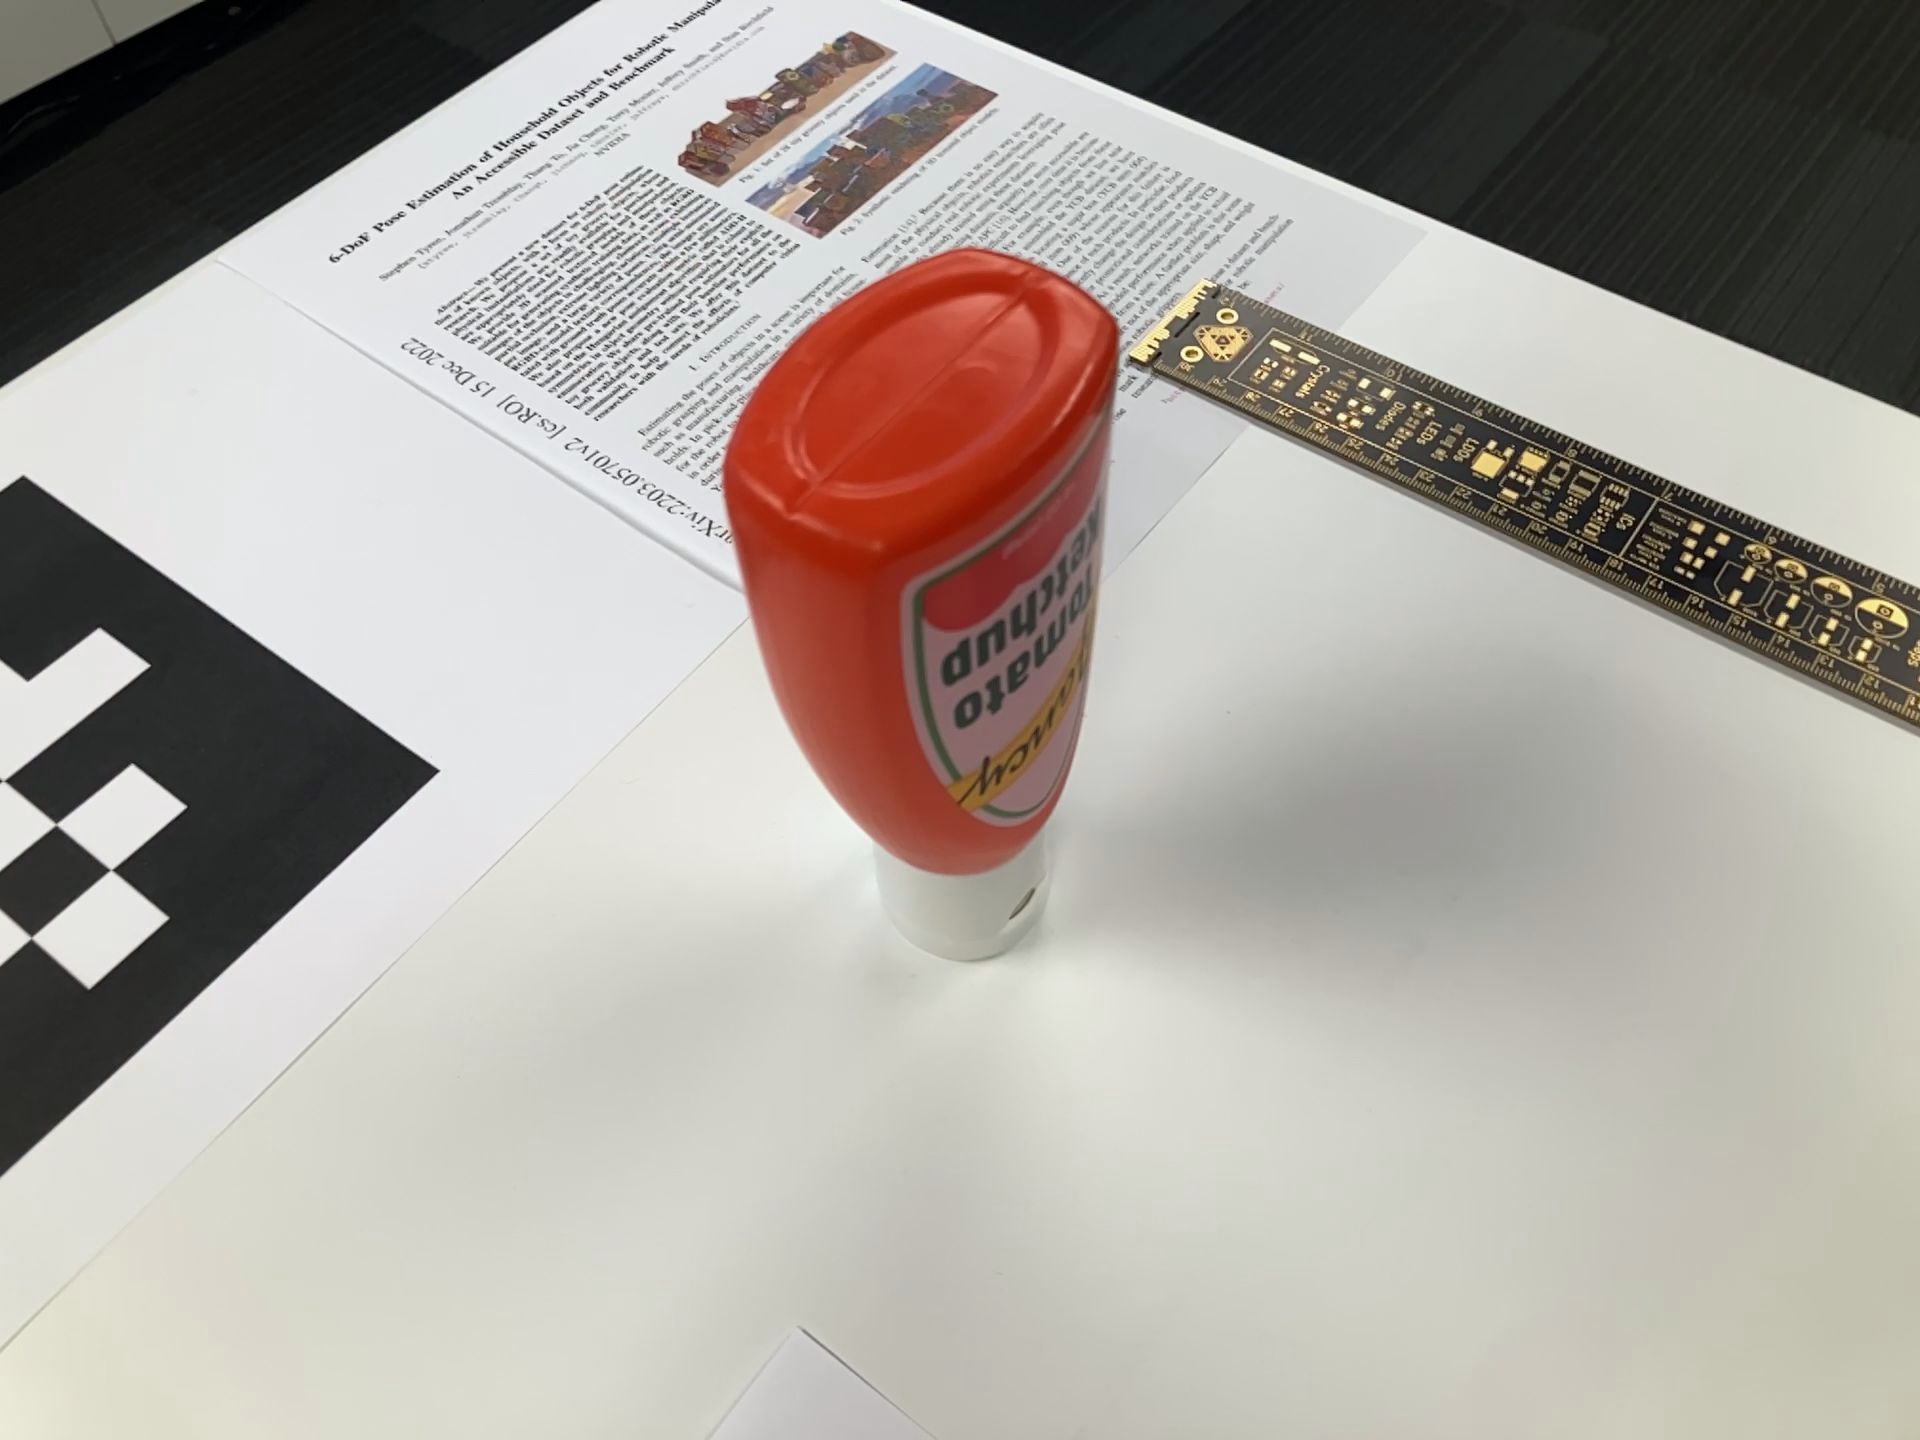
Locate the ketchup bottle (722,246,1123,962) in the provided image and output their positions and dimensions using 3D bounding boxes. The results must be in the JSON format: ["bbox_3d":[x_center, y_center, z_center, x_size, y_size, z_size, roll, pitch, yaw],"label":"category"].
[{"bbox_3d":[-0.002,-0.006,0.278,0.043,0.149,0.065,32,63,22],"label":"ketchup bottle"}]
